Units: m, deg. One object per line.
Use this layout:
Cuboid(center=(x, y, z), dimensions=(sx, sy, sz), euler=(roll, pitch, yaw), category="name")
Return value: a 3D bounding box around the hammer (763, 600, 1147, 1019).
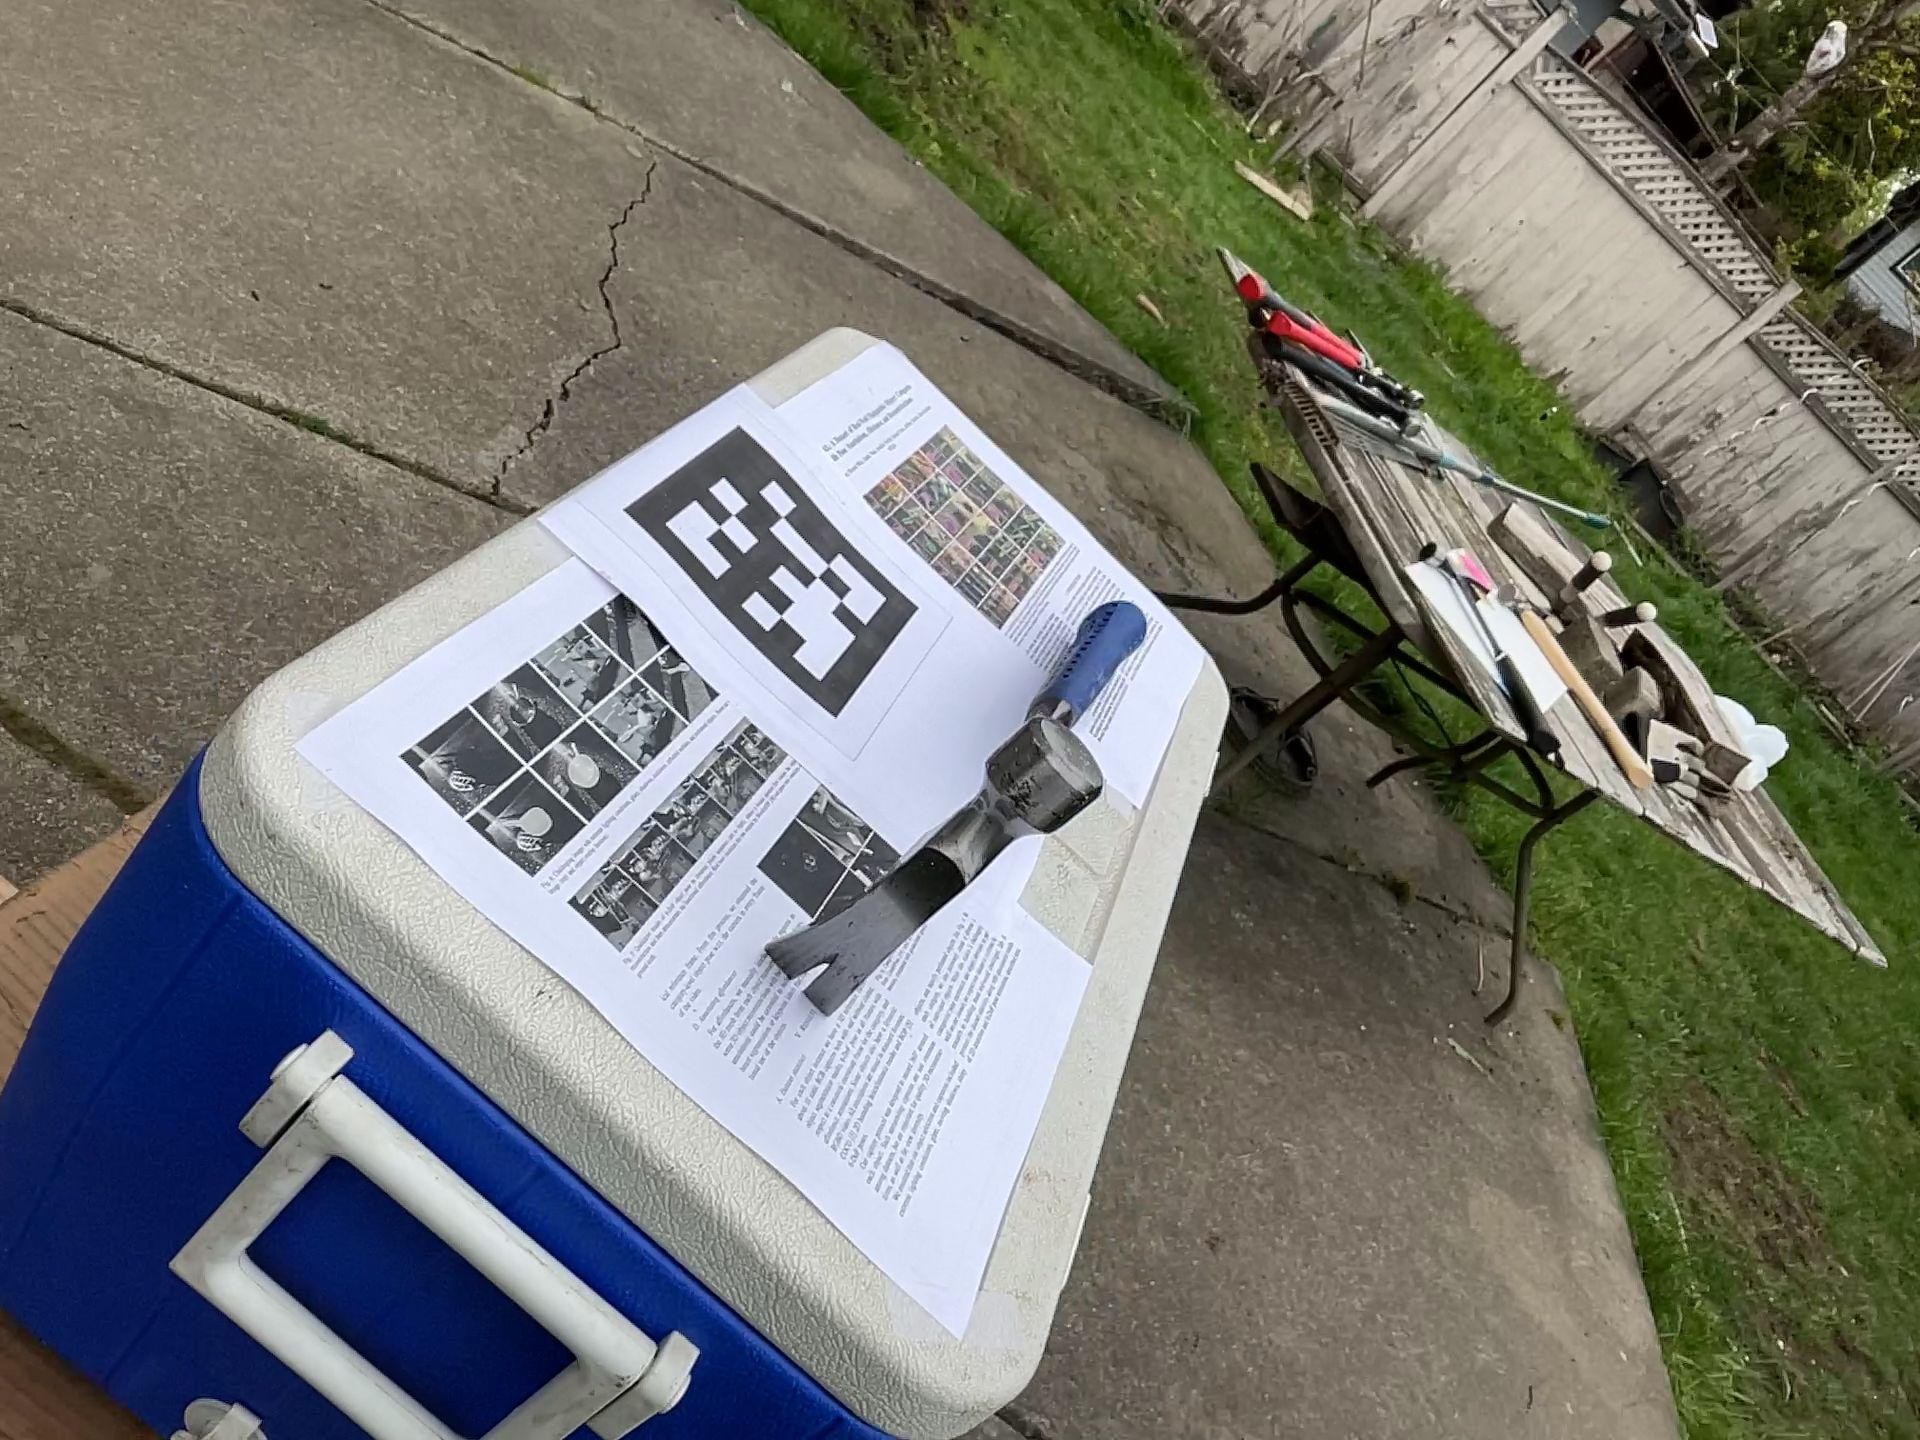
Cuboid(center=(0.031, 0.007, 0.712), dimensions=(0.035, 0.144, 0.405), euler=(47, 21, -2), category="hammer")
